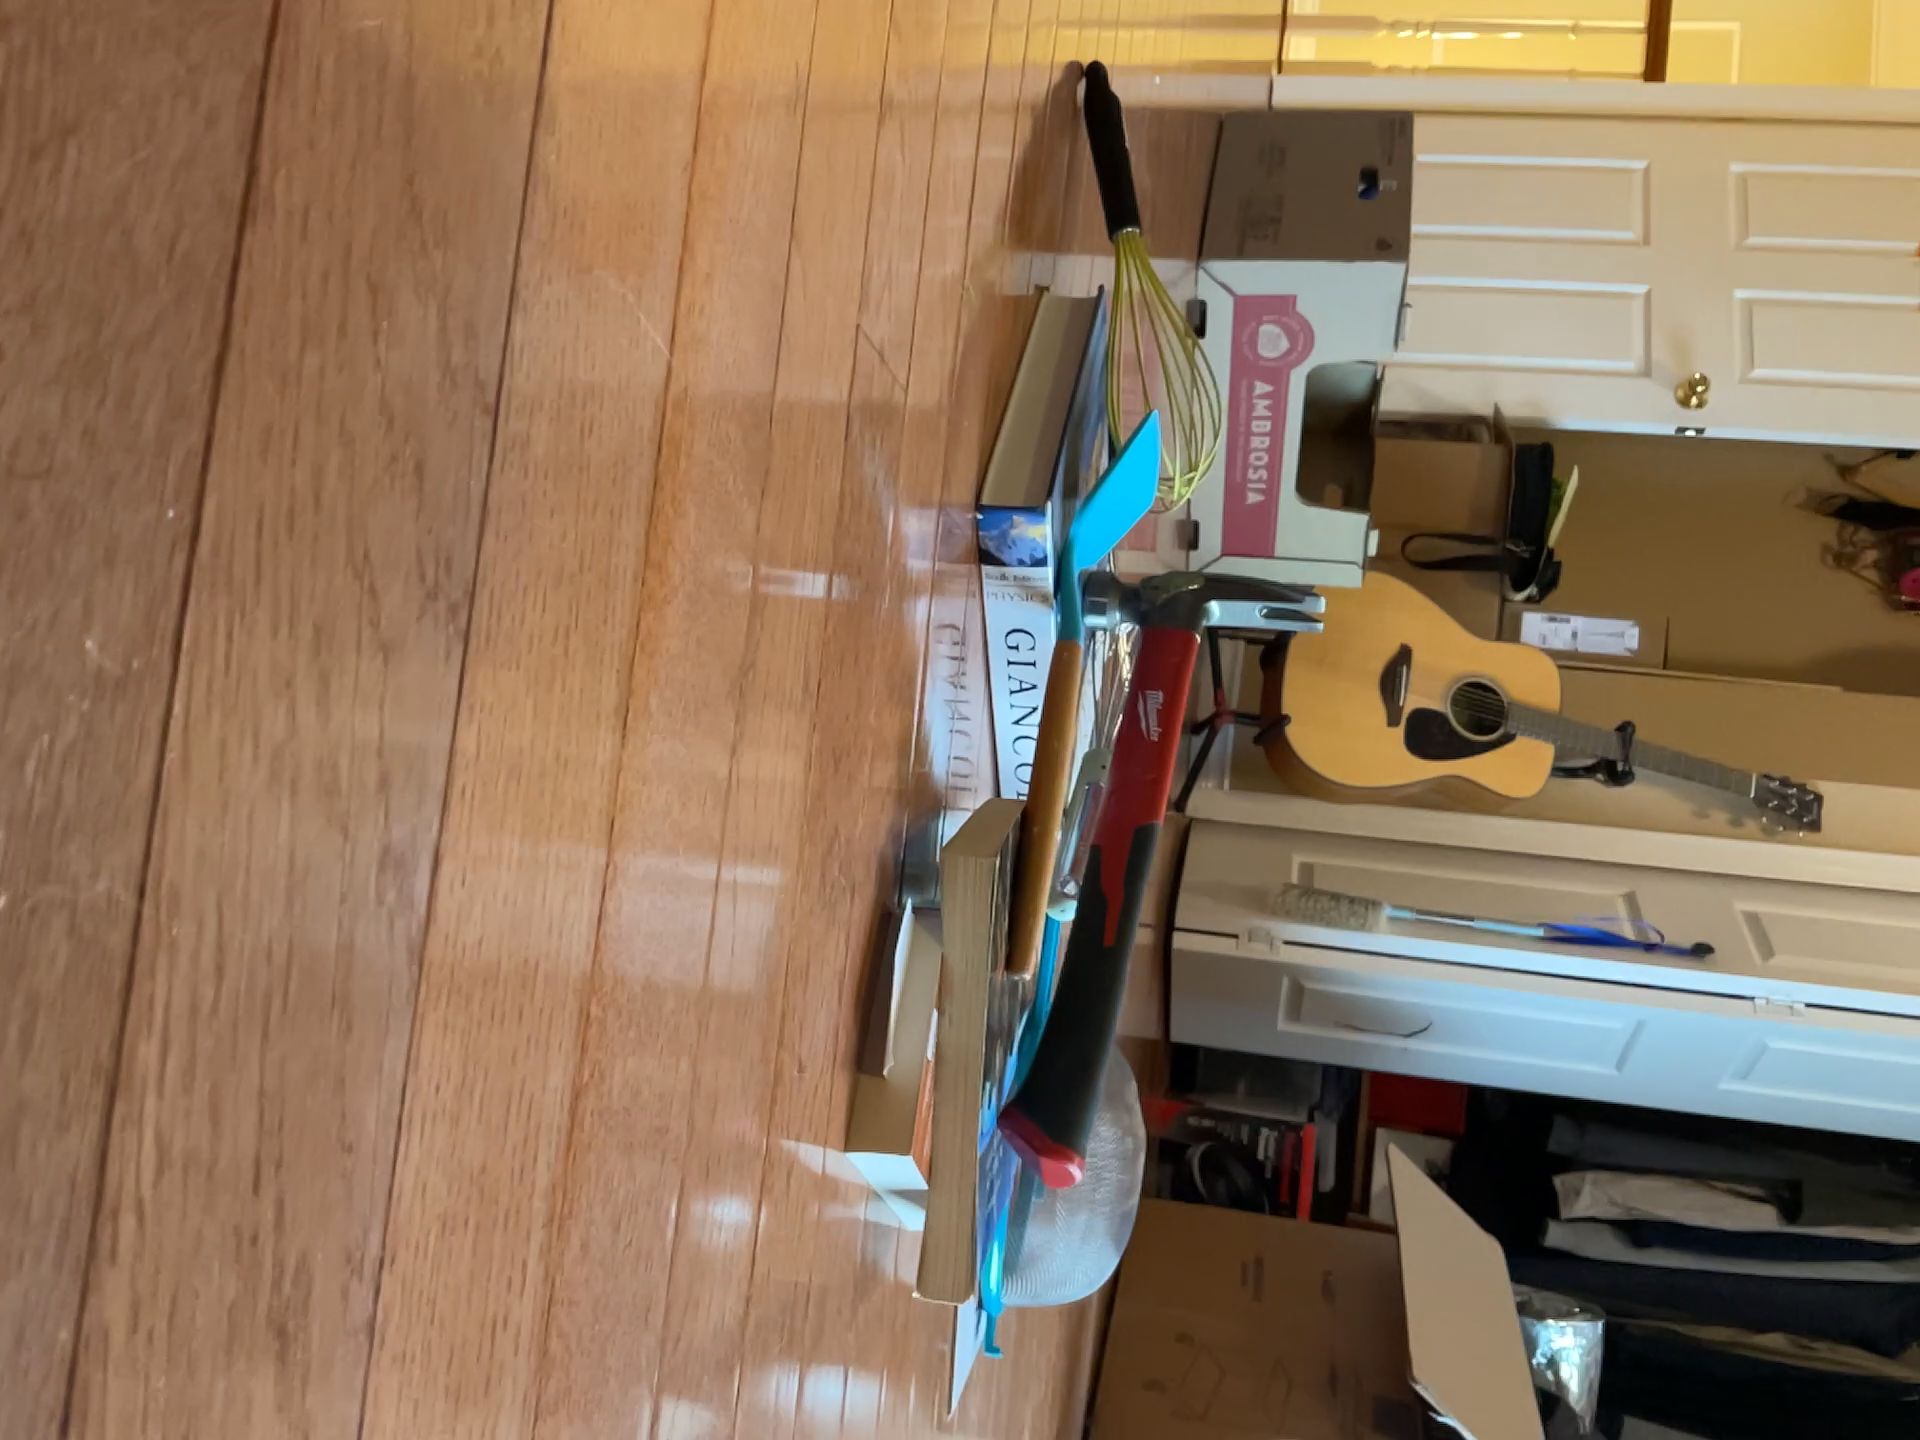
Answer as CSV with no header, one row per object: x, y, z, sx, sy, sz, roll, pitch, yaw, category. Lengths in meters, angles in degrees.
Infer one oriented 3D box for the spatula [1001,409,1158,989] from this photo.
0.061,-0.014,0.807,0.082,0.044,0.318,79,19,-60,spatula

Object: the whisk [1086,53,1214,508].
0.106,-0.278,0.992,0.080,0.067,0.312,22,58,-63,whisk

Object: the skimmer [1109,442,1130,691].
0.083,-0.066,1.137,0.127,0.090,0.363,-22,106,-75,skimmer

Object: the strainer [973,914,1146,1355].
0.083,0.241,1.053,0.211,0.095,0.340,-54,154,-68,strainer

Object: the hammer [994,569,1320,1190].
0.101,0.065,0.848,0.038,0.143,0.387,77,23,-48,hammer

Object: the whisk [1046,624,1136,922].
0.088,0.018,0.983,0.059,0.058,0.247,-48,-161,53,whisk
